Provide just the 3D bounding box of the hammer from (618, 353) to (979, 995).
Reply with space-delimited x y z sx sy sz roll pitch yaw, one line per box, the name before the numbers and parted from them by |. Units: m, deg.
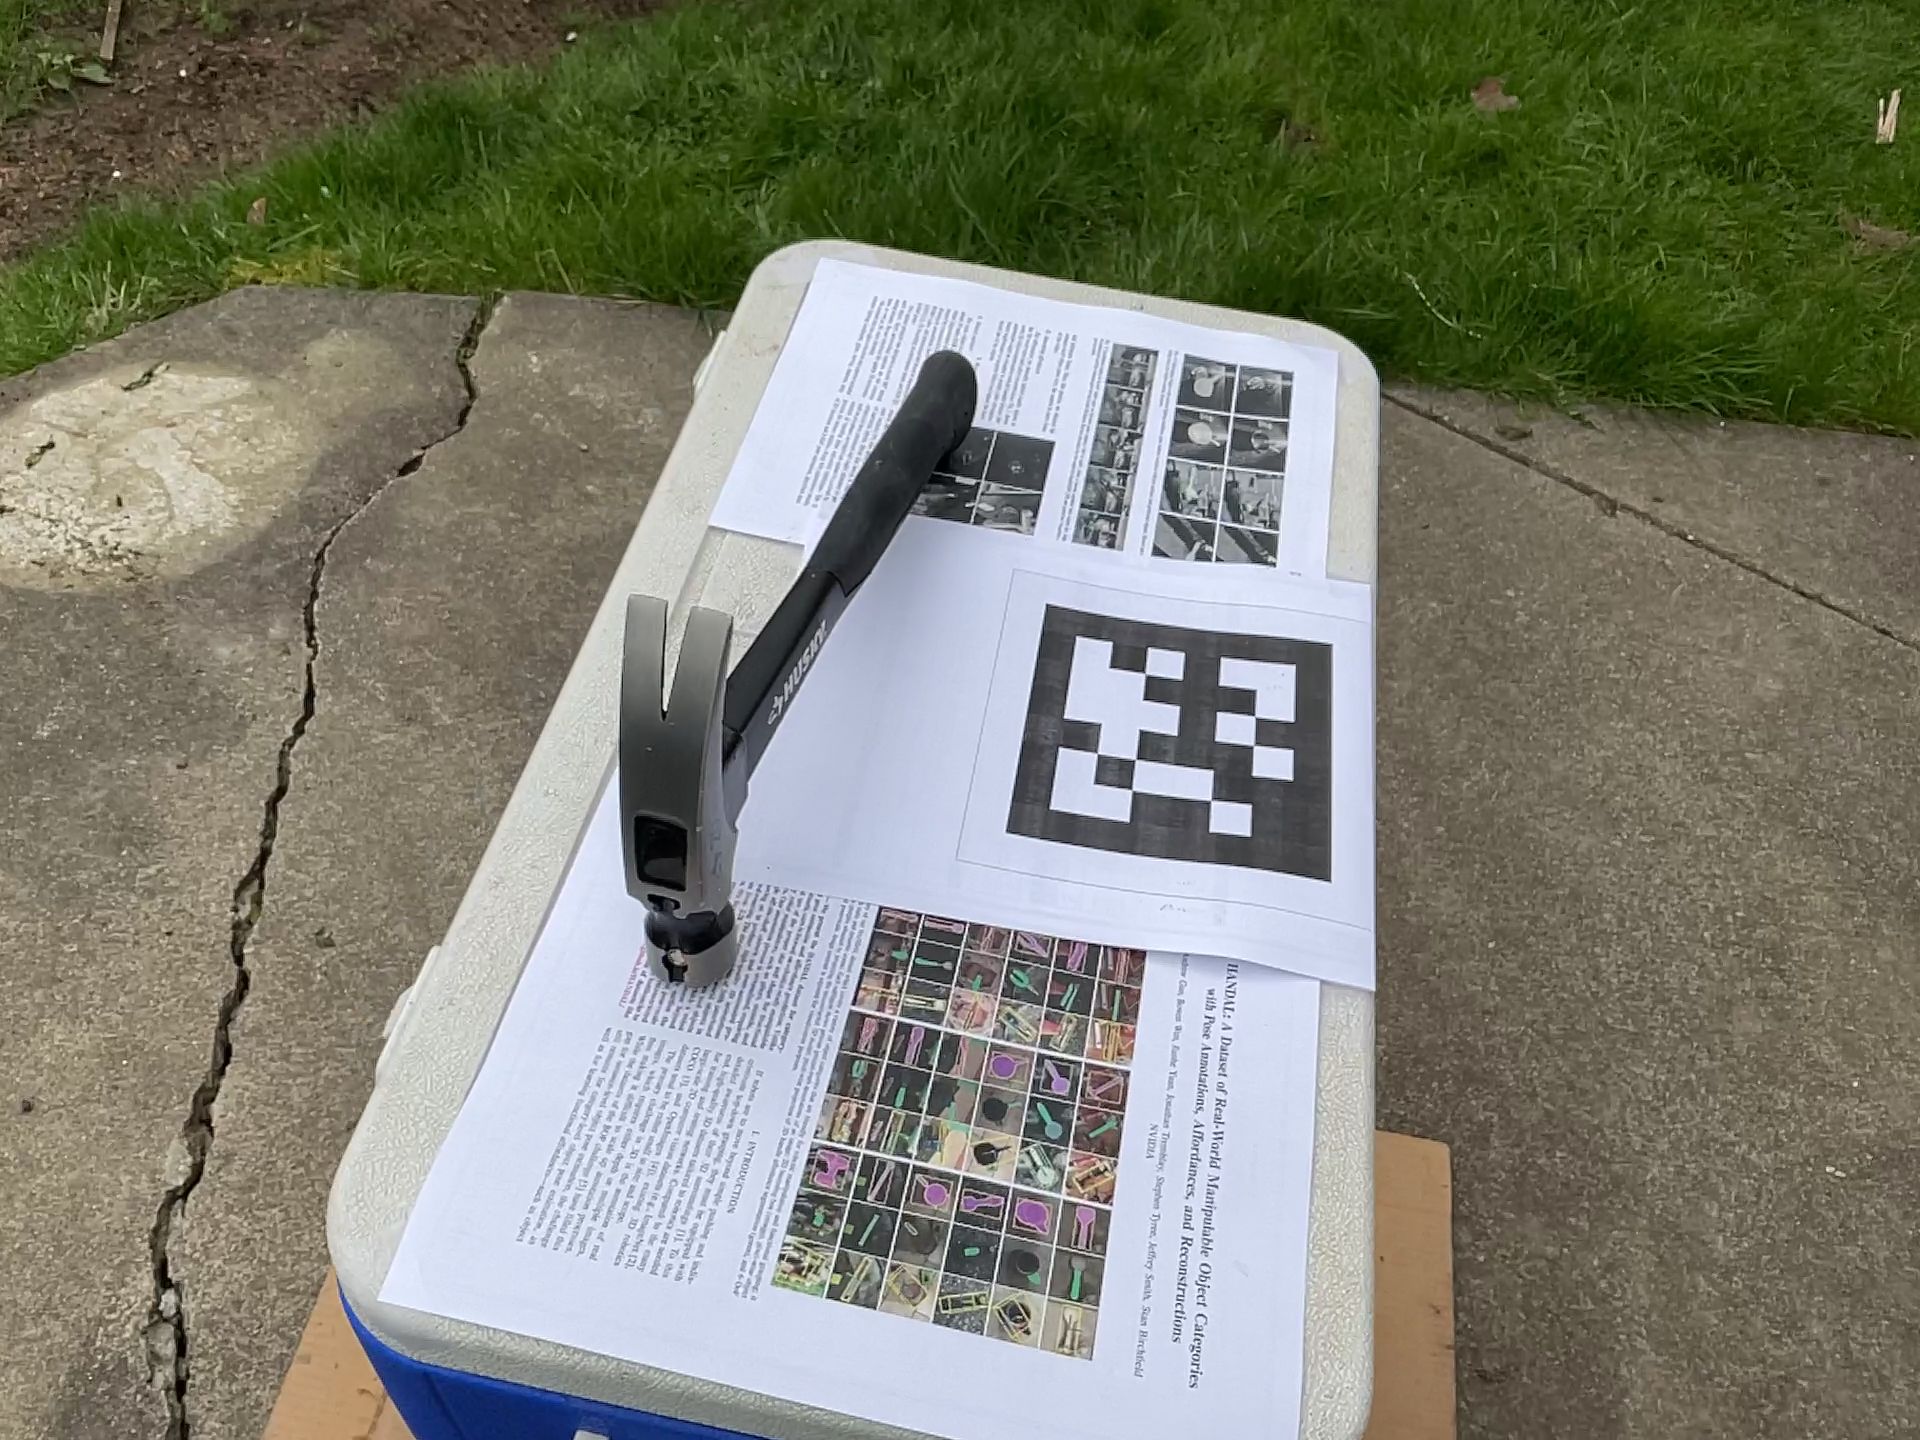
hammer | -0.051 -0.061 0.633 0.035 0.146 0.335 12 41 11
